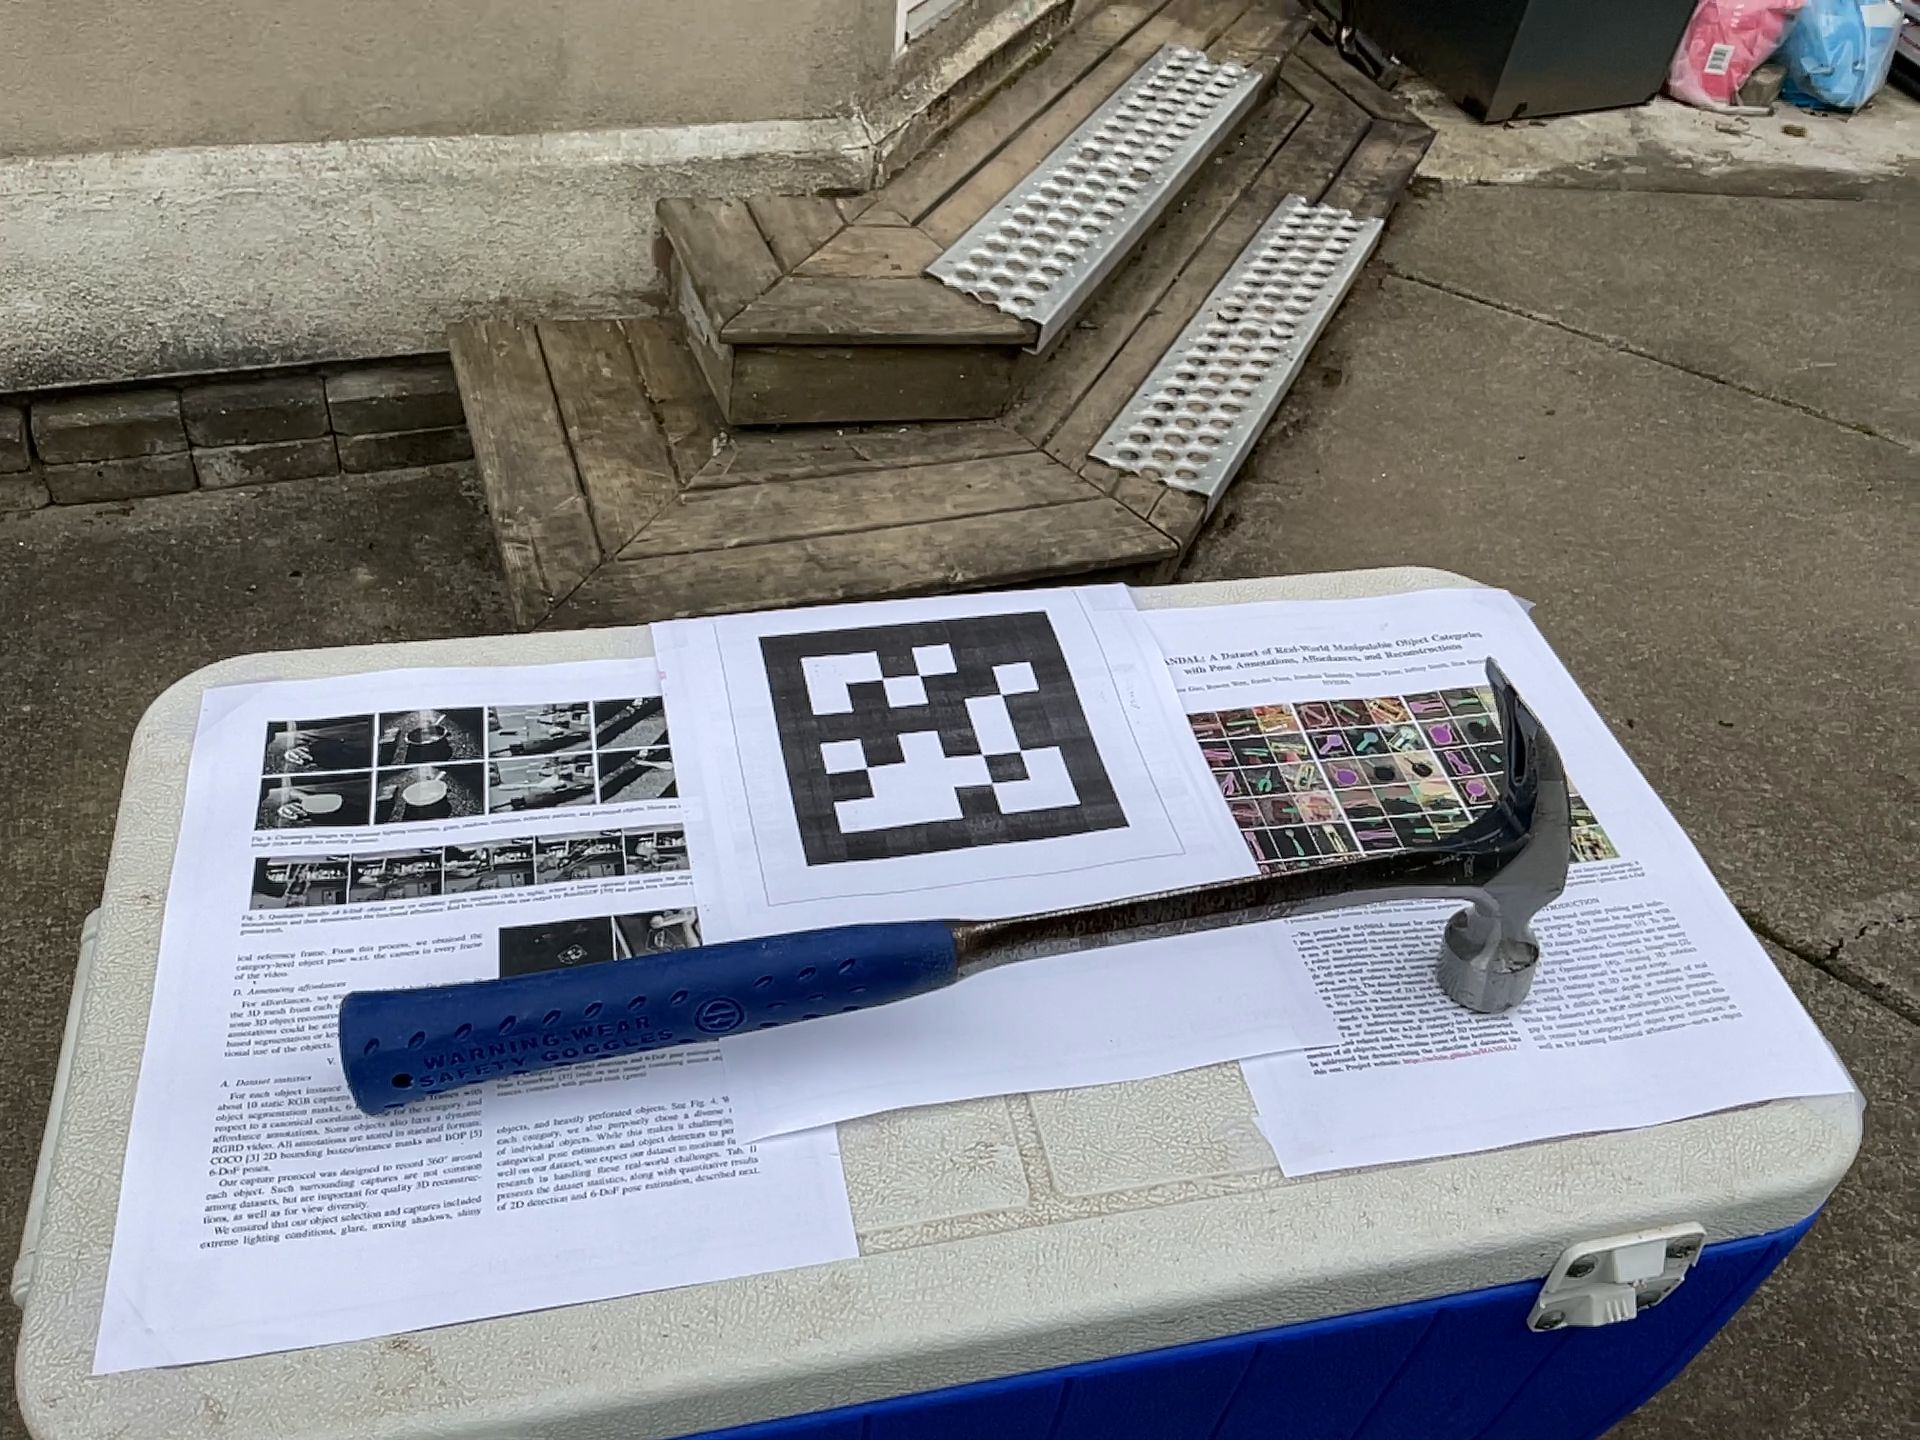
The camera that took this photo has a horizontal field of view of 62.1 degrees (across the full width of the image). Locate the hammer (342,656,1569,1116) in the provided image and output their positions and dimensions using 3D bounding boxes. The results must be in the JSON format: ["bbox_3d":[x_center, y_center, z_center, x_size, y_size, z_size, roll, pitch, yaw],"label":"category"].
[{"bbox_3d":[0.007,0.070,0.526,0.405,0.144,0.035,-9,40,-7],"label":"hammer"}]
